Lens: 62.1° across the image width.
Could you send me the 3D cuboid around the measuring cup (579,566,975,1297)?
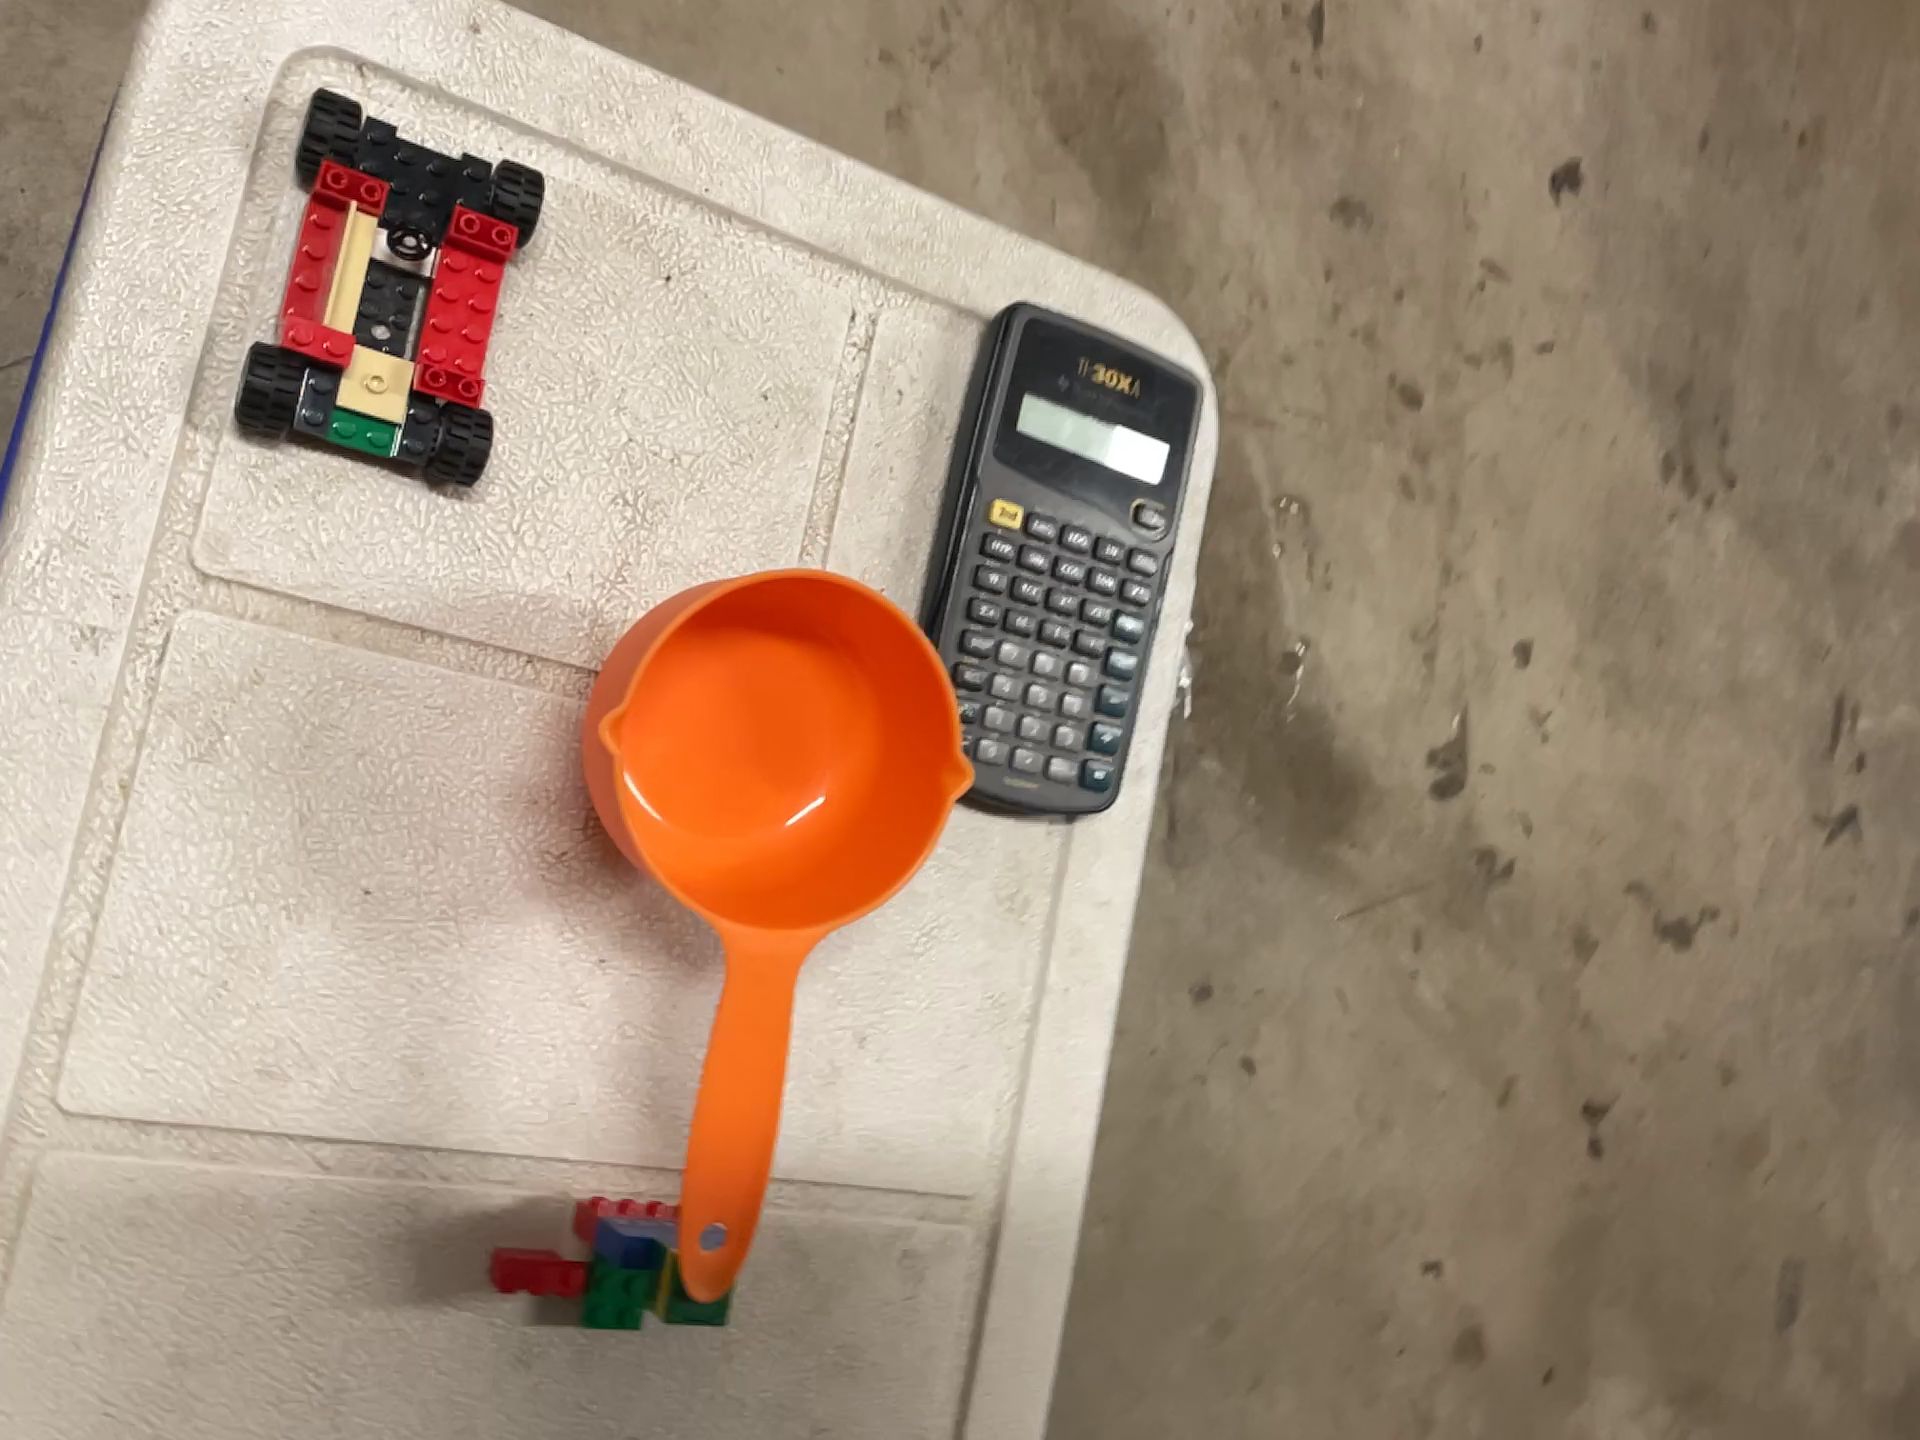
[{"bbox_3d":[-0.056,0.048,0.395,0.095,0.052,0.173,9,91,-29],"label":"measuring cup"}]
